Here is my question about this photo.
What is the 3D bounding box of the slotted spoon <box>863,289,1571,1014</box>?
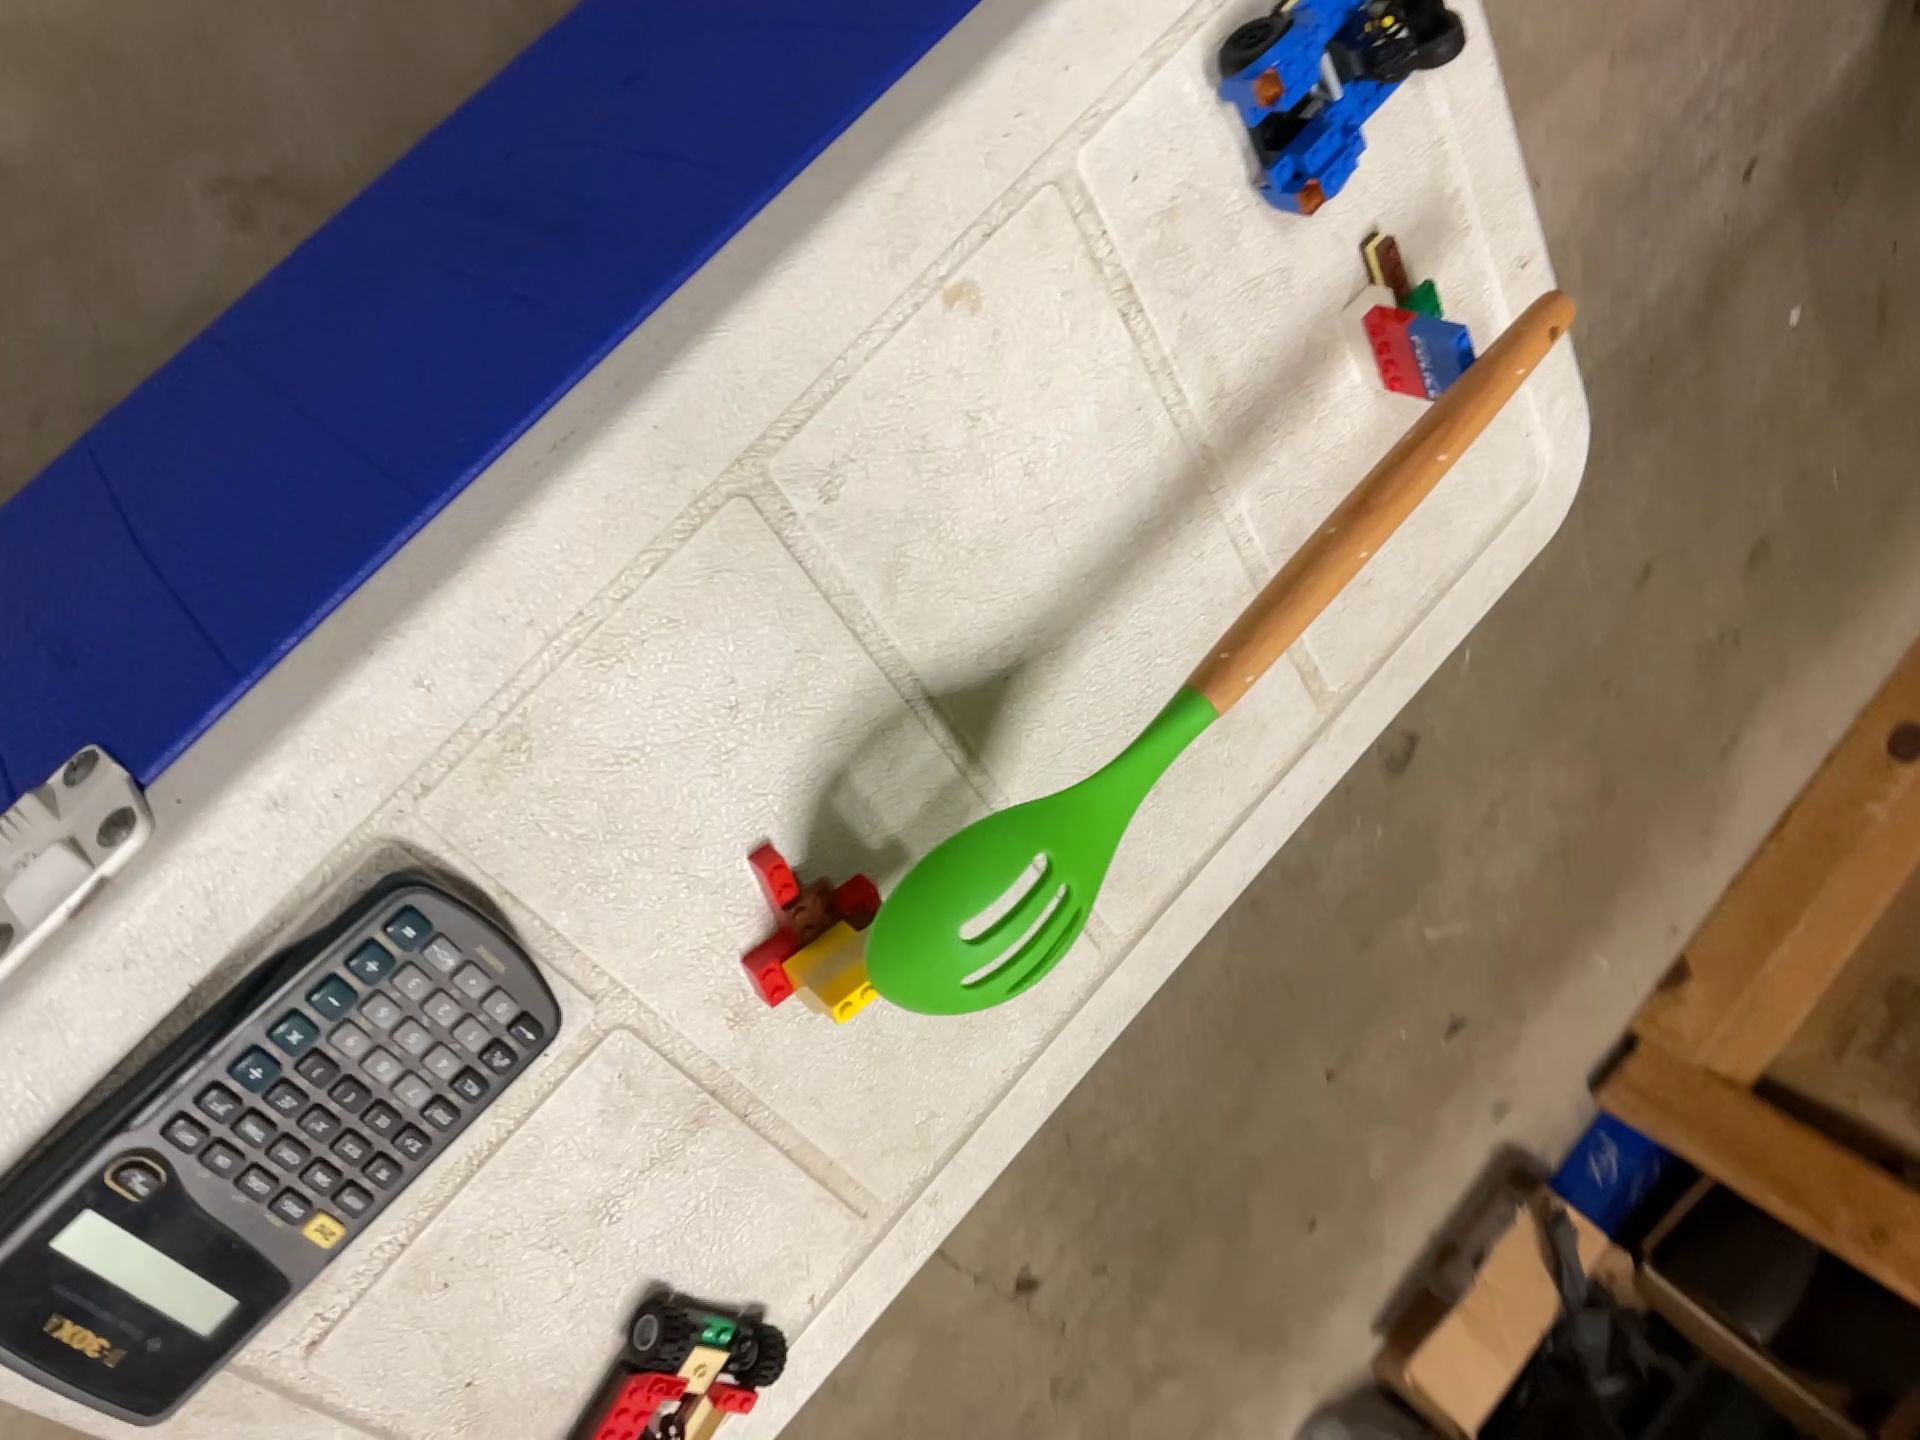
[{"bbox_3d":[0.090,-0.026,0.495,0.314,0.031,0.070,-47,132,-11],"label":"slotted spoon"}]
